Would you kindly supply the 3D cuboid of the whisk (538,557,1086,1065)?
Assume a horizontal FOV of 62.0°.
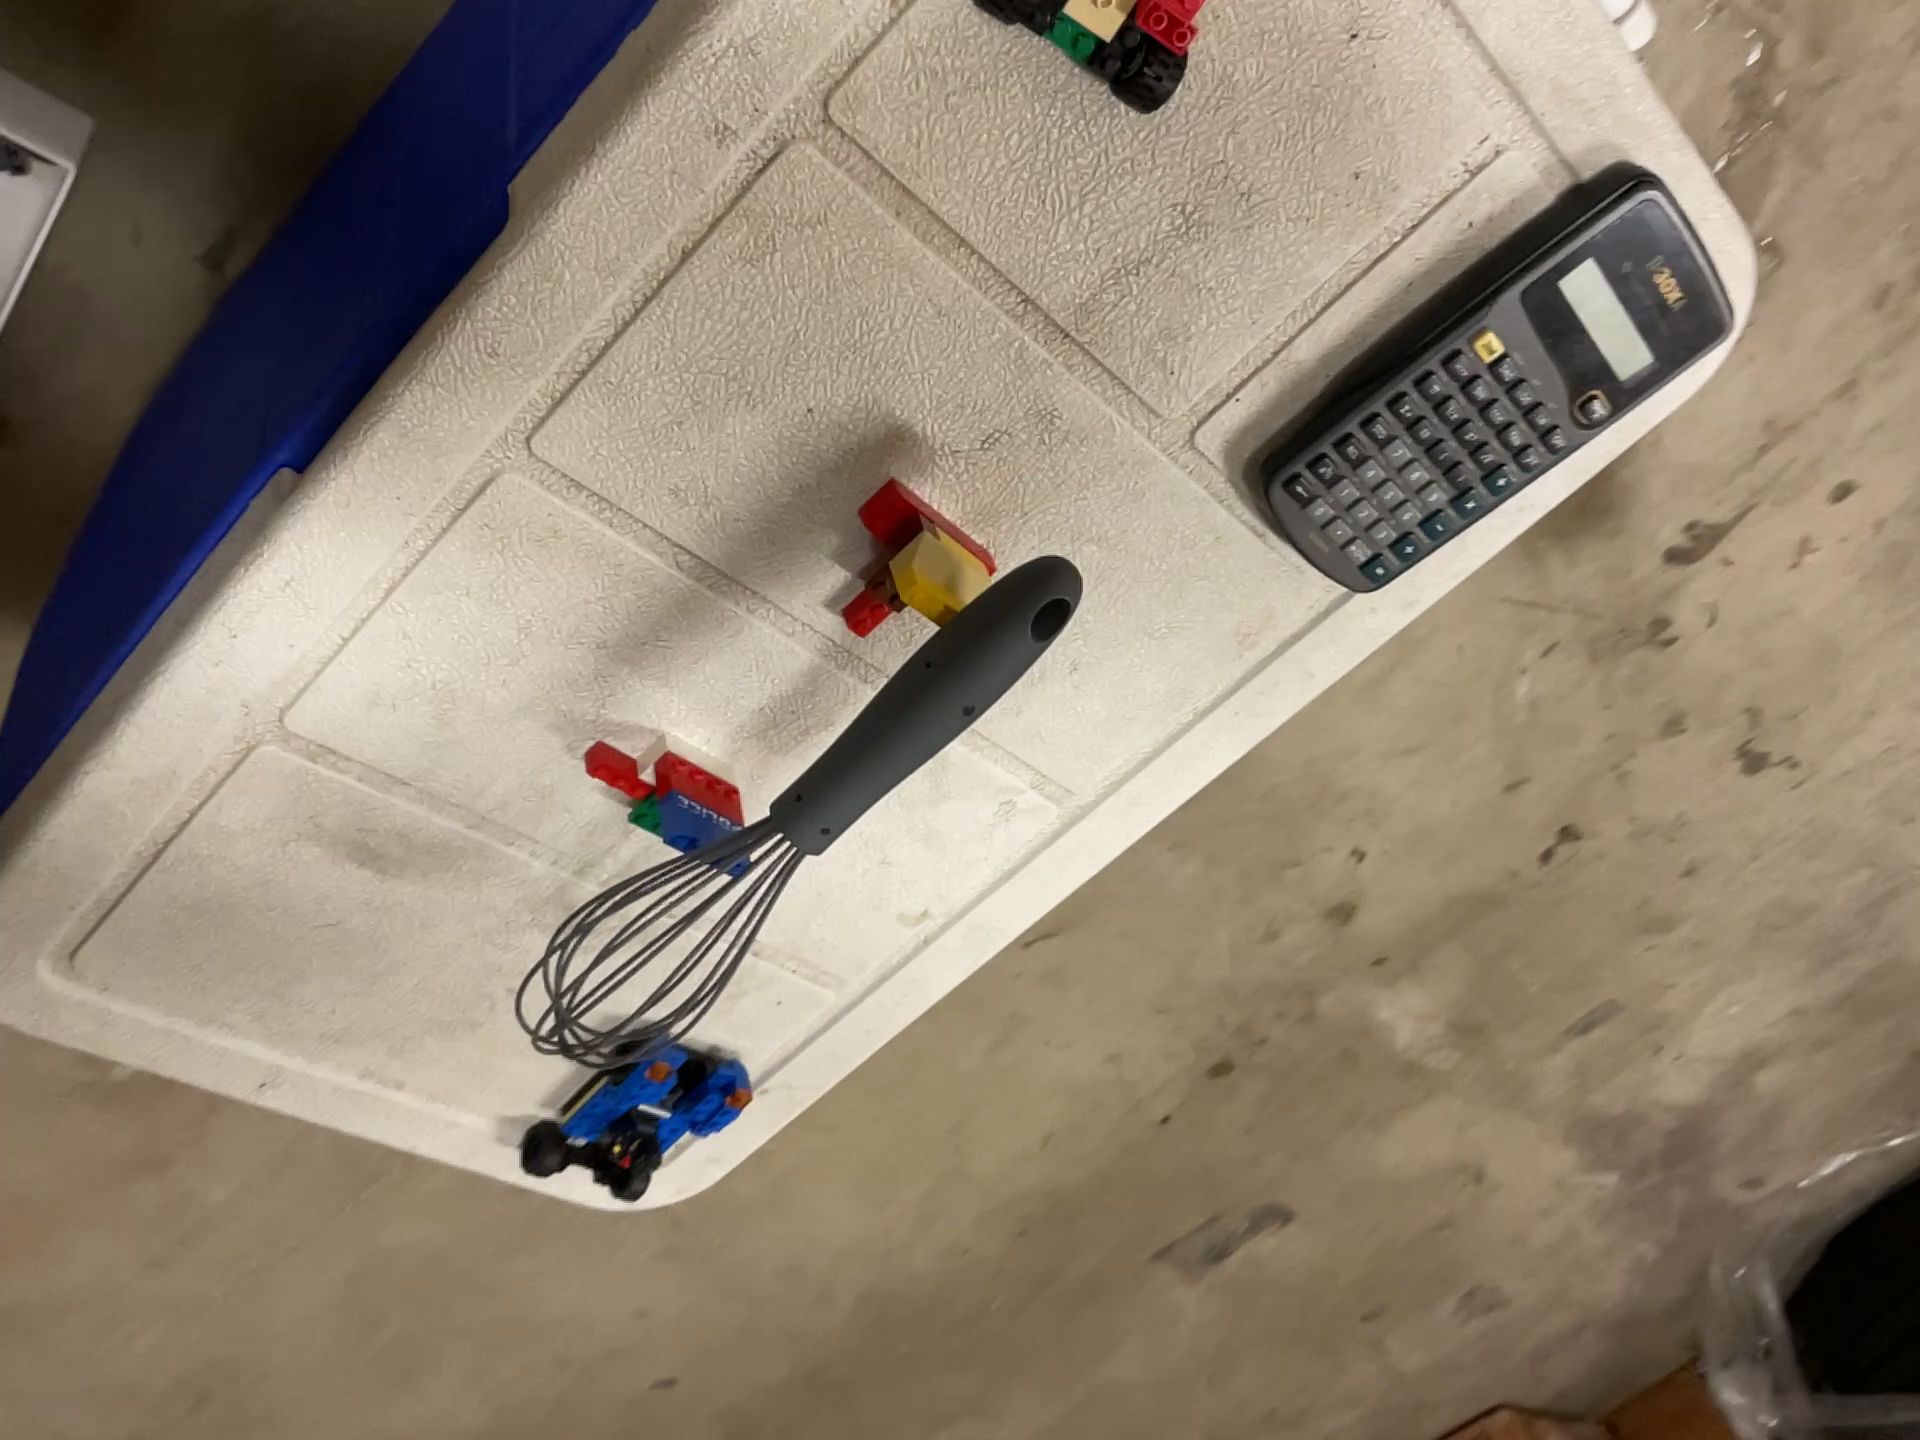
[{"bbox_3d":[-0.050,0.032,0.505,0.239,0.055,0.055,-42,132,15],"label":"whisk"}]
